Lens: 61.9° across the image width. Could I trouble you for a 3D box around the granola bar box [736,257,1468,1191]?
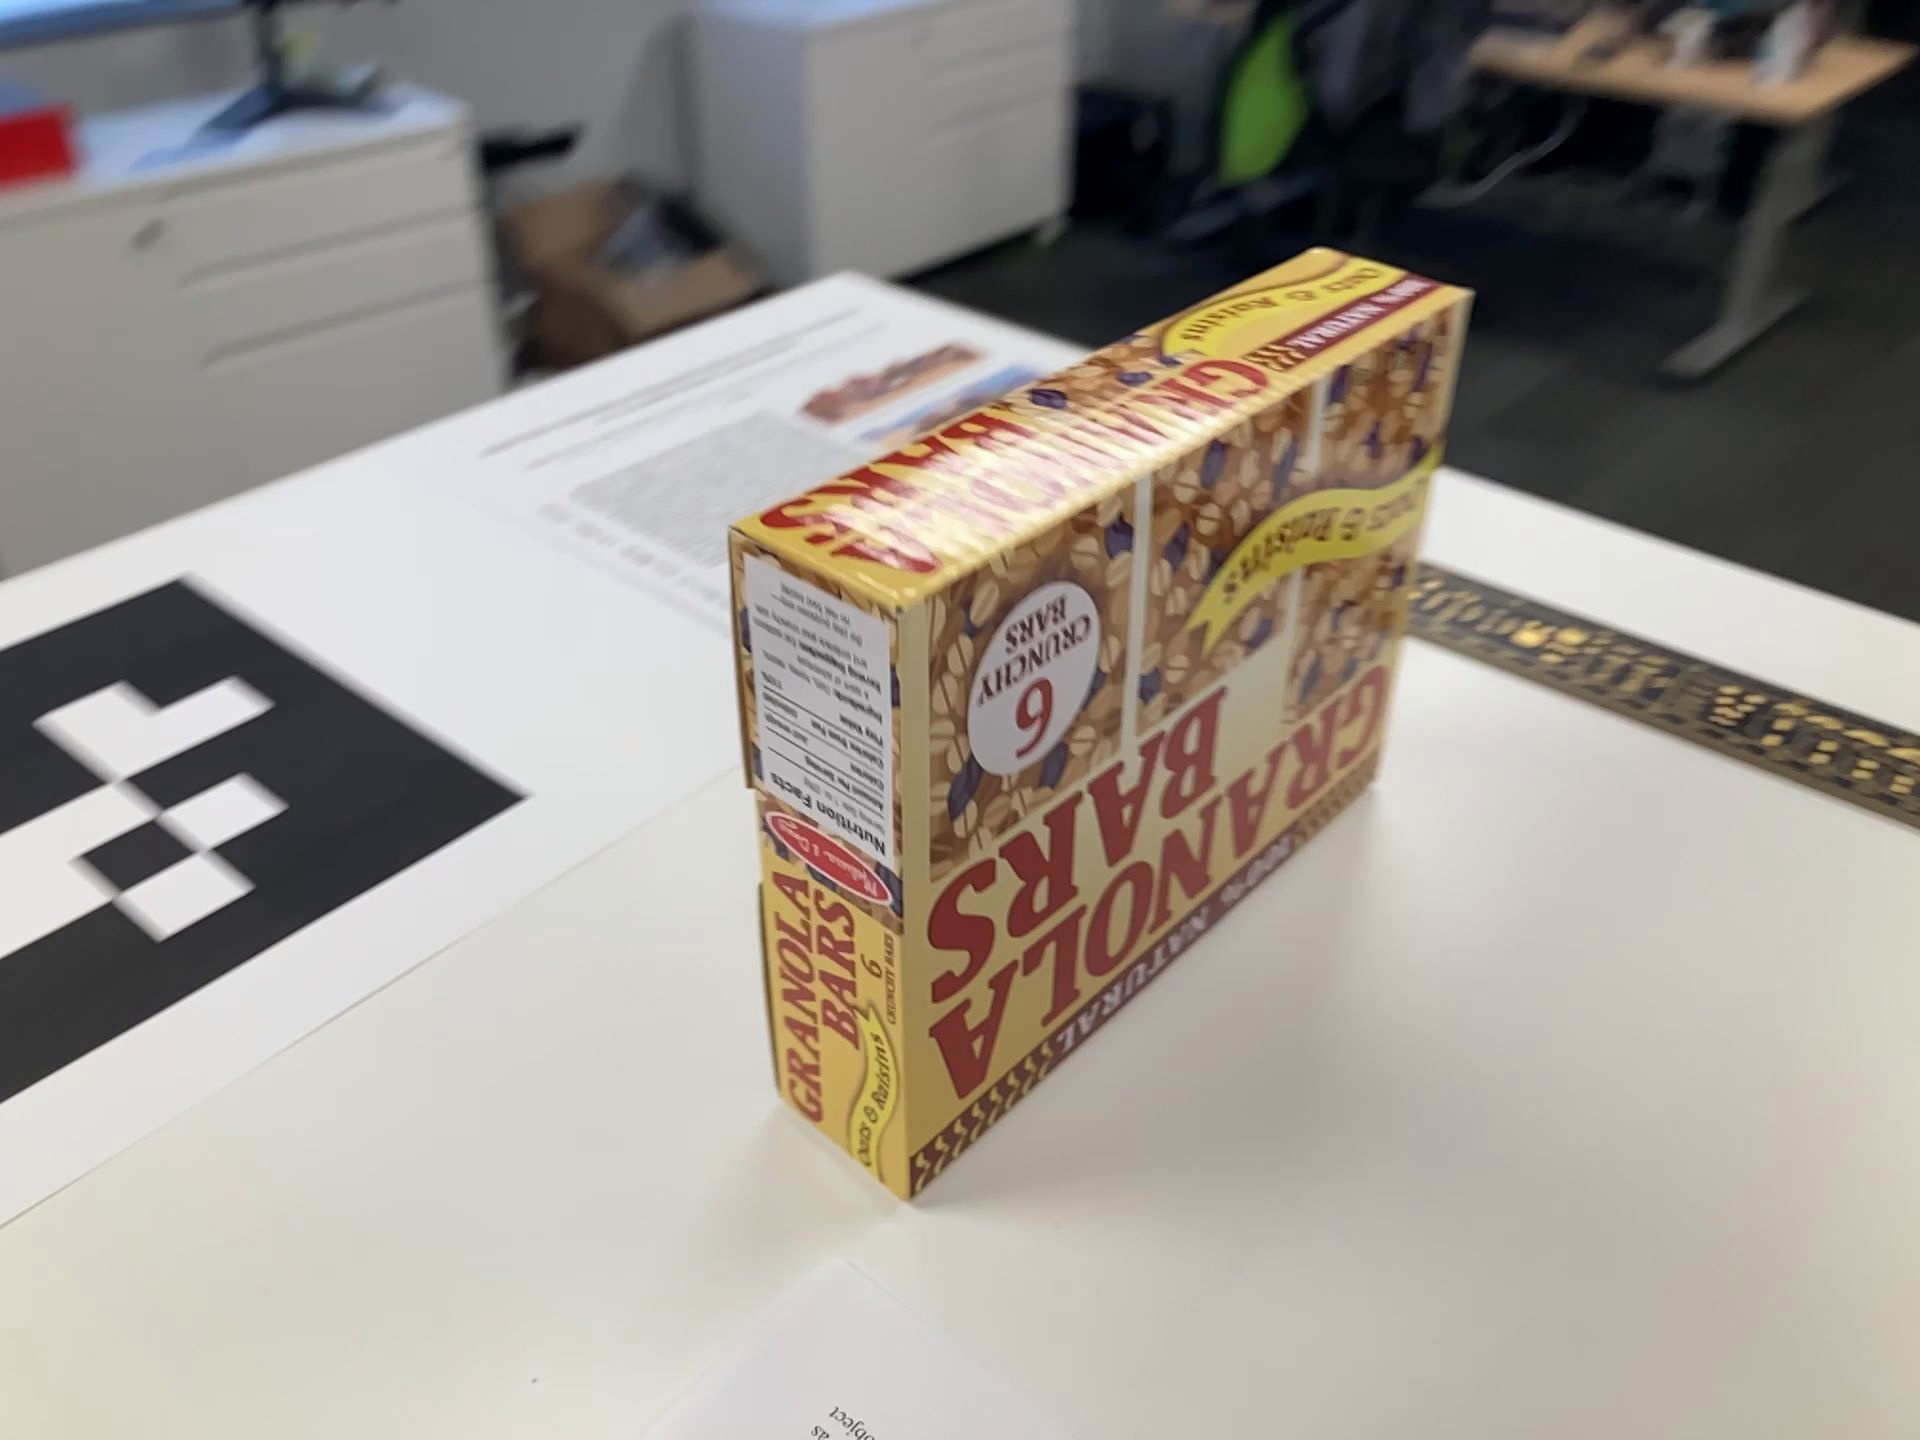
[{"bbox_3d":[0.032,-0.007,0.313,0.039,0.124,0.165,27,42,33],"label":"granola bar box"}]
